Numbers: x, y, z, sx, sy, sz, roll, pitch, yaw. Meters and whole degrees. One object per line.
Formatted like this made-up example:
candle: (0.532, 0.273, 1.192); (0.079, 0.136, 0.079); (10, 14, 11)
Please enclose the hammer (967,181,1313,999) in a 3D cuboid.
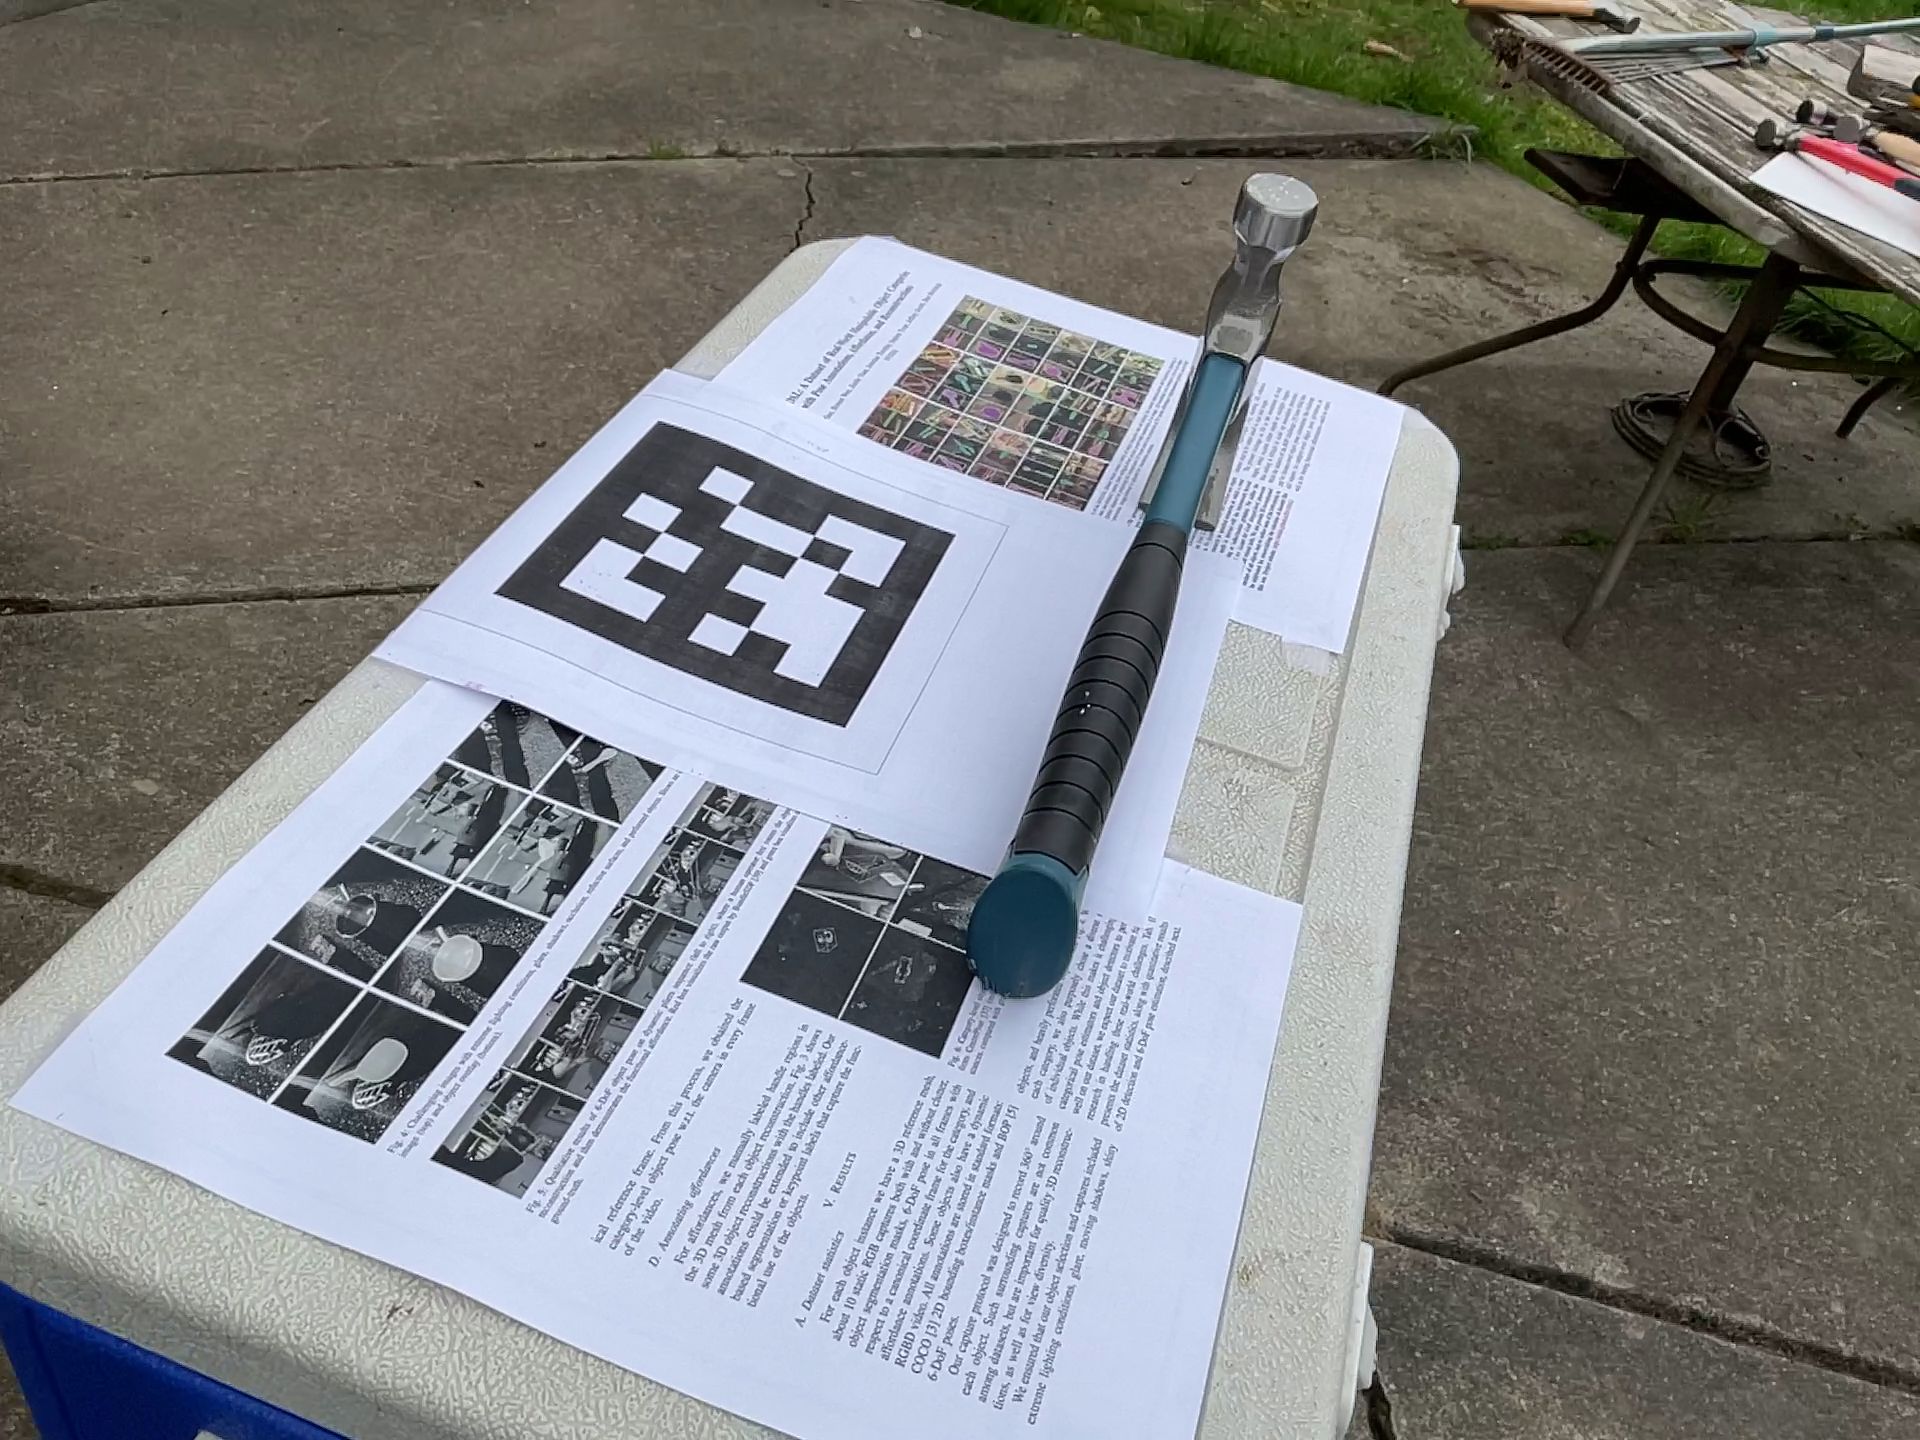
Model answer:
hammer: (0.065, -0.050, 0.548); (0.033, 0.128, 0.331); (18, 49, 7)
